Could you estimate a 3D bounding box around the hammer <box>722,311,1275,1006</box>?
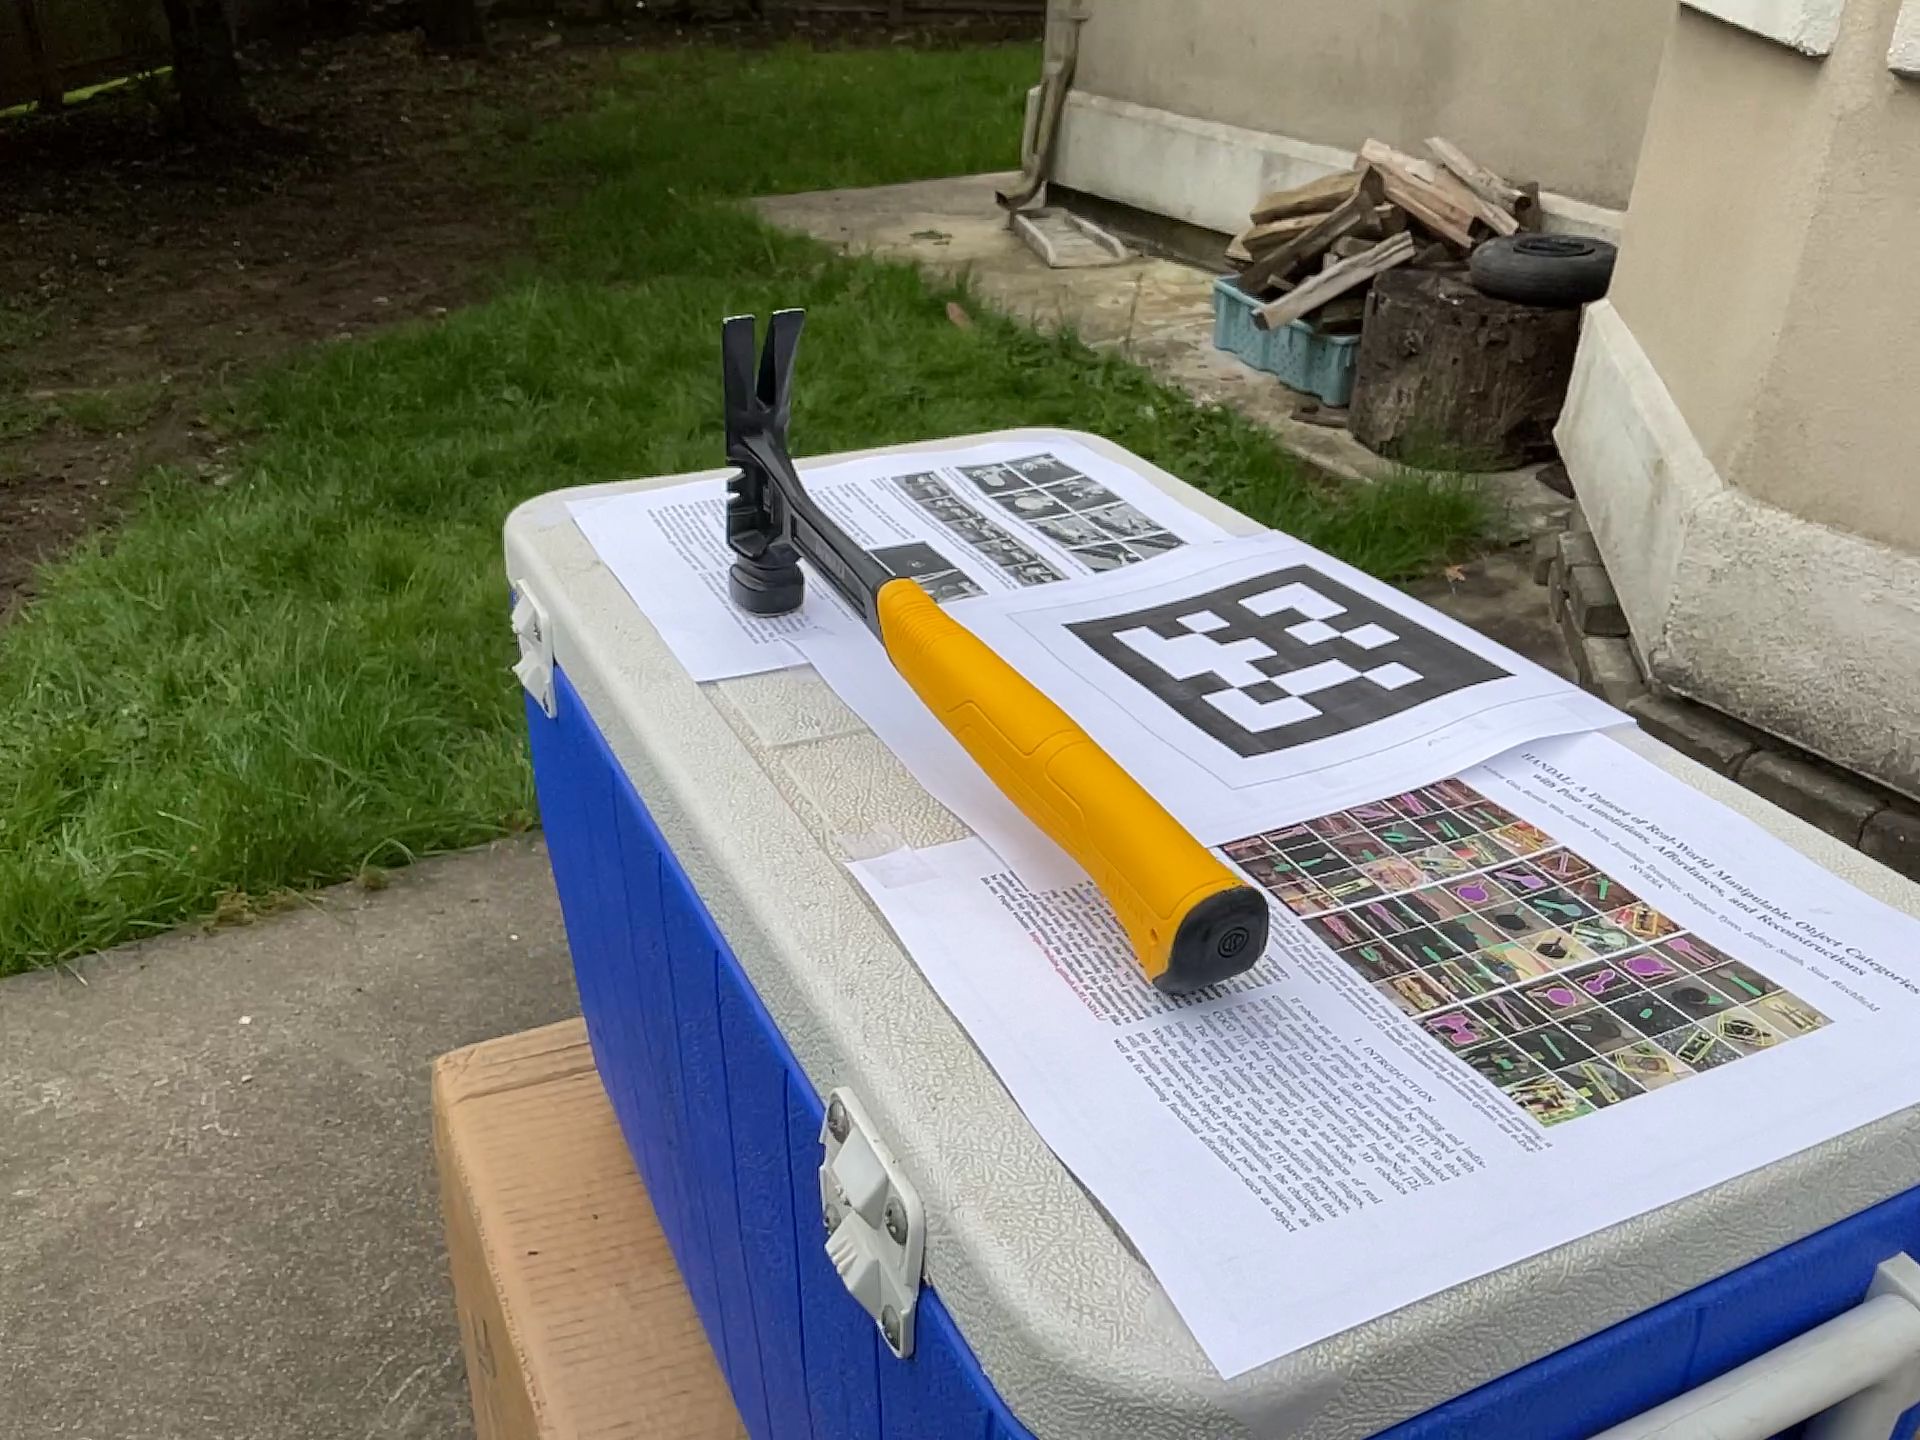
[{"bbox_3d":[-0.006,-0.026,0.541,0.034,0.127,0.337,-13,37,-26],"label":"hammer"}]
